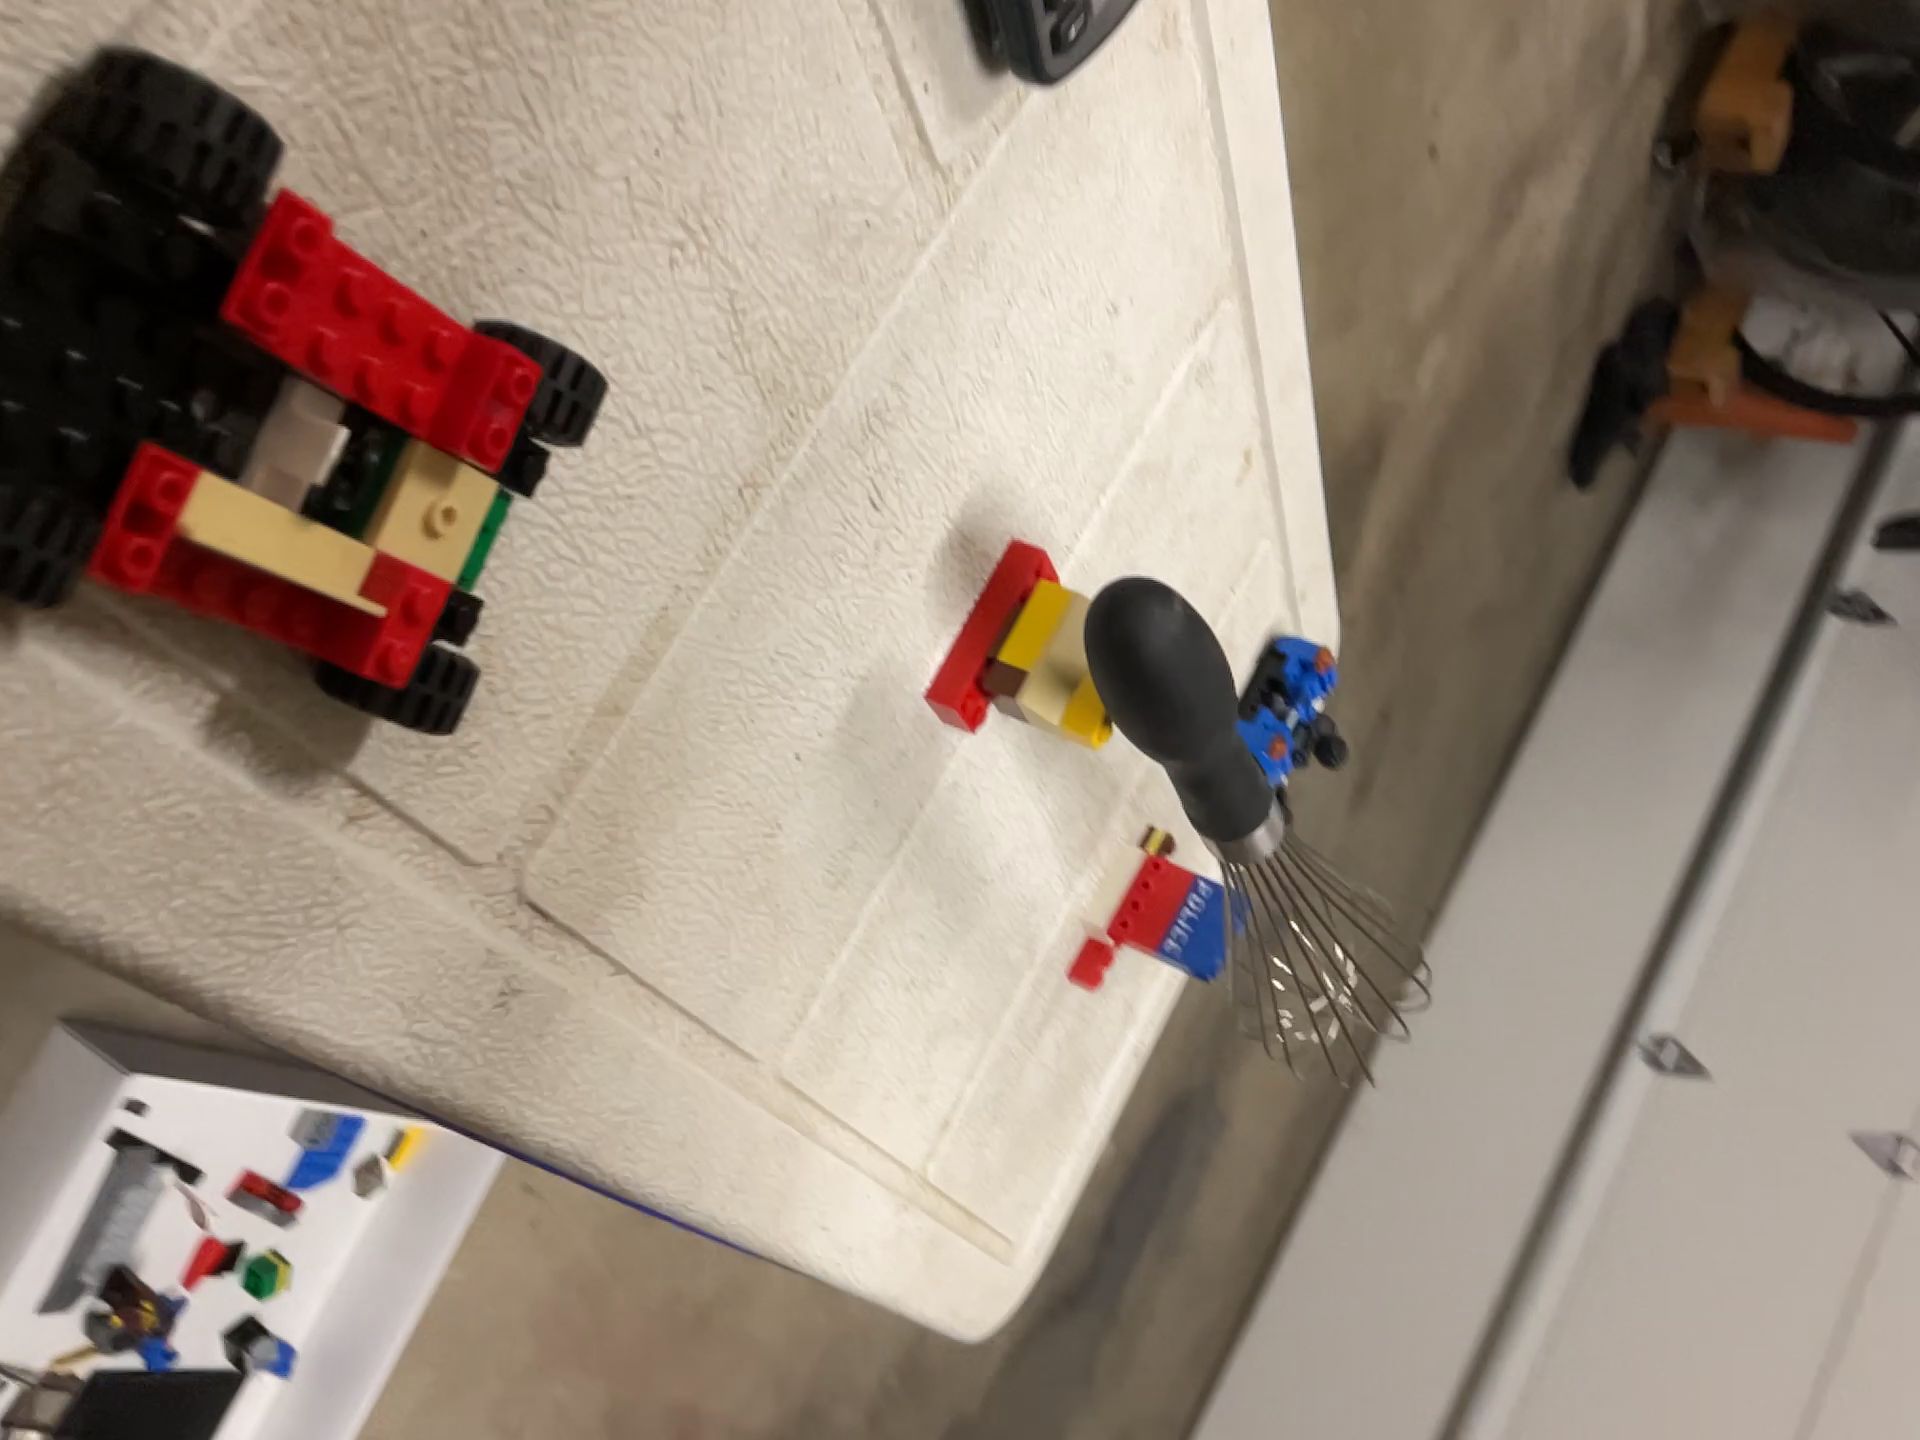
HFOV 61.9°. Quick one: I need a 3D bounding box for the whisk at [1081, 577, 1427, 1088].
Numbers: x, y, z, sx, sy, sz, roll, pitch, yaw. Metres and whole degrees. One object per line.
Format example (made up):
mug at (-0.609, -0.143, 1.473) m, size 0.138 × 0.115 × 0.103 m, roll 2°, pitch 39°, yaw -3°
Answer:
whisk at (0.085, 0.042, 0.452) m, size 0.070 × 0.070 × 0.284 m, roll -56°, pitch 146°, yaw -13°
